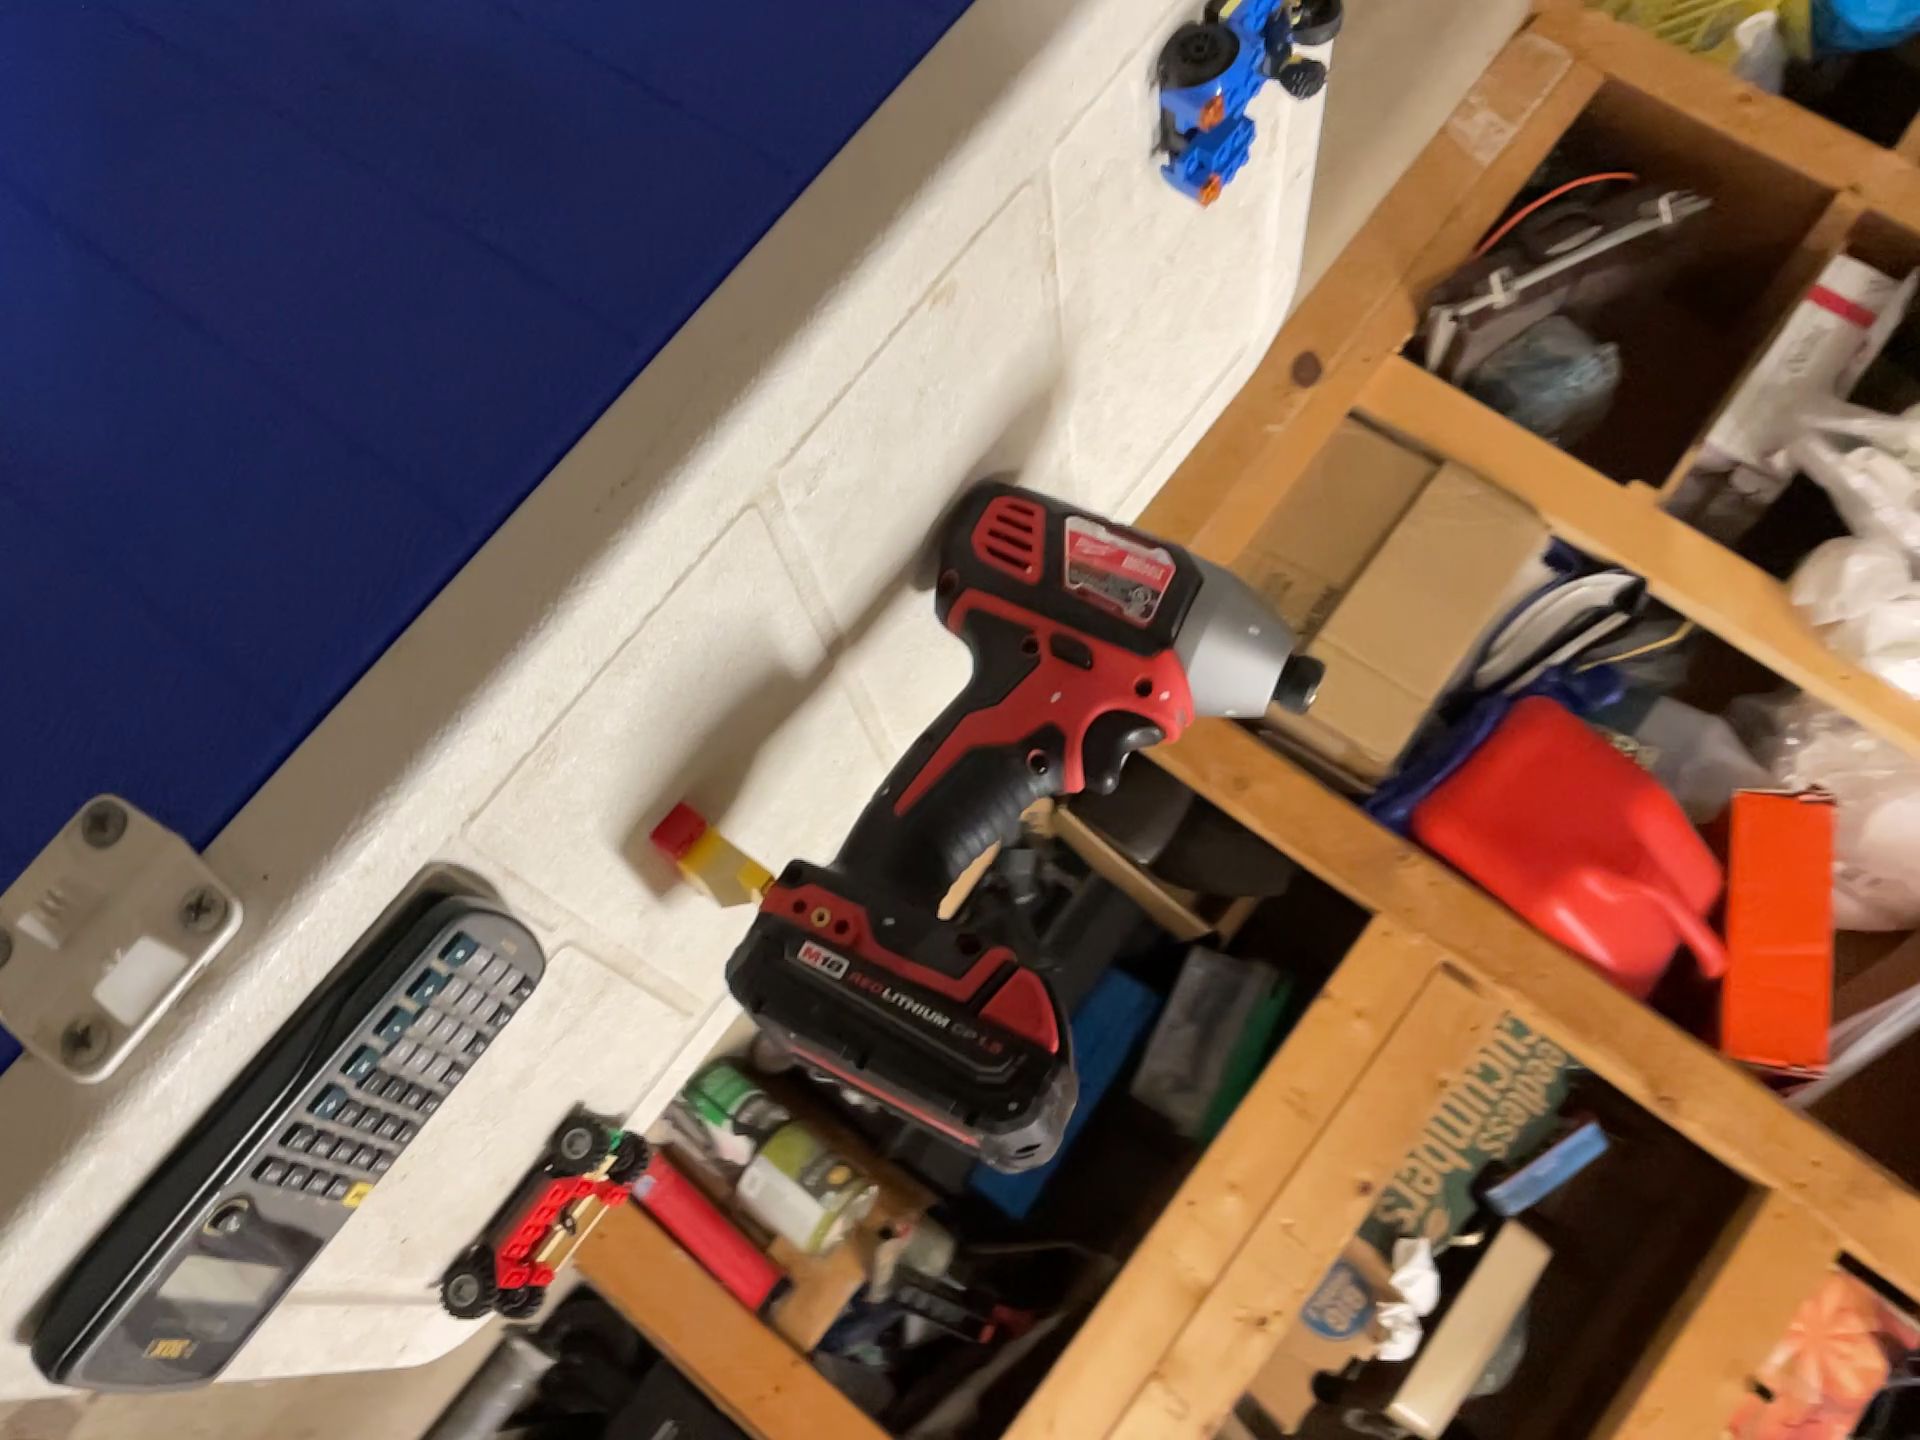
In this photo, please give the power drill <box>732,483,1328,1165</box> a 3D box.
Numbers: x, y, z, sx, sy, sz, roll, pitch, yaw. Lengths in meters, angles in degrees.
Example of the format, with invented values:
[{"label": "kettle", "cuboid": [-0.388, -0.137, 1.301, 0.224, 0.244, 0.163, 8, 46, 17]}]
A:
[{"label": "power drill", "cuboid": [0.028, 0.029, 0.549, 0.078, 0.143, 0.220, 81, 34, -66]}]
